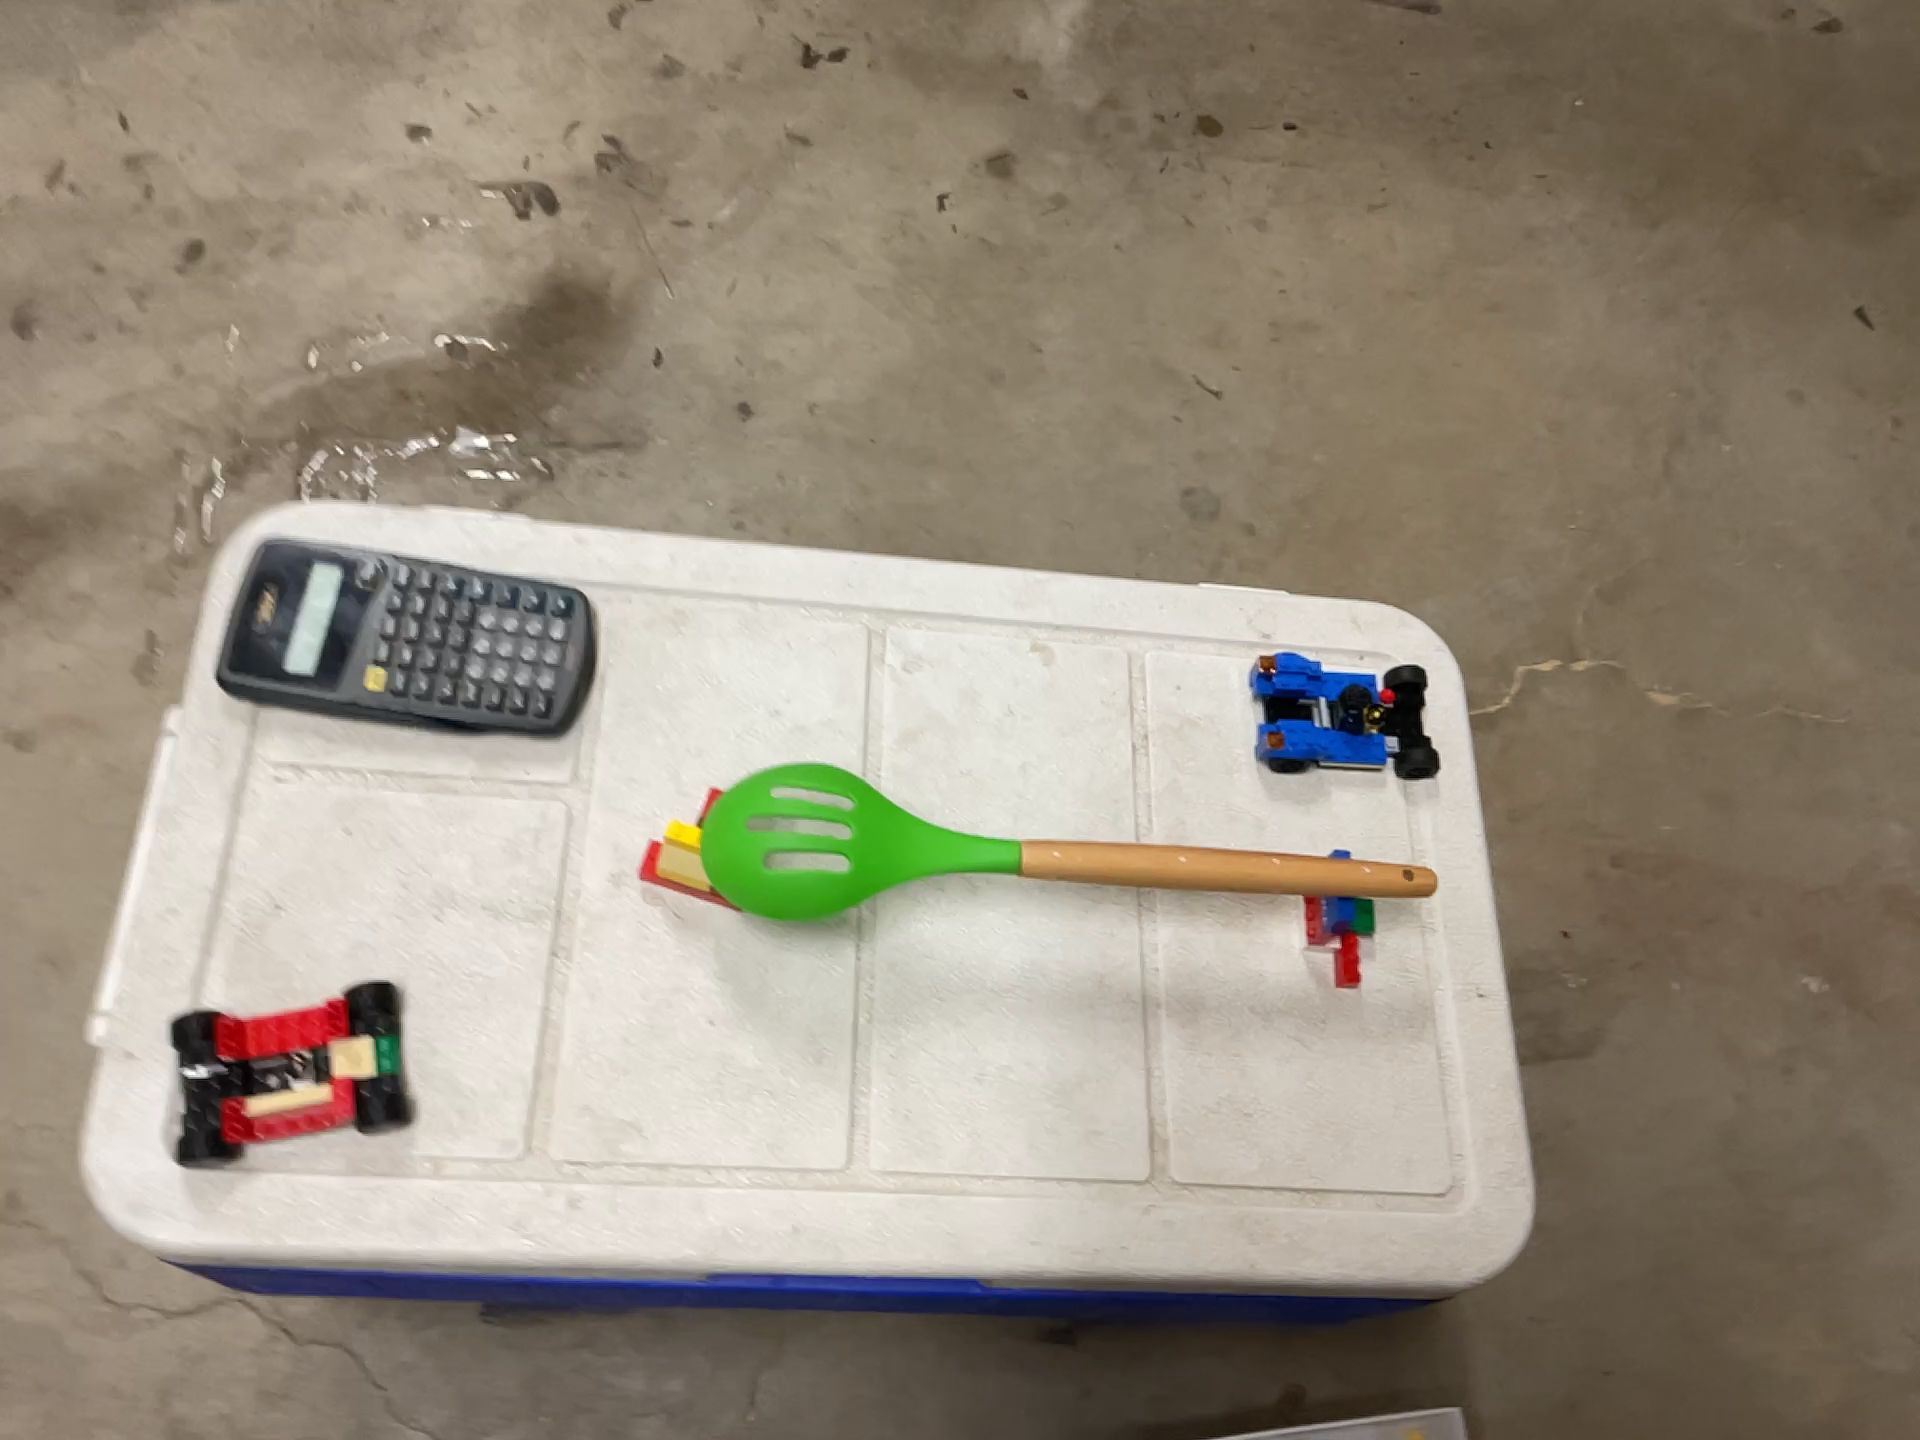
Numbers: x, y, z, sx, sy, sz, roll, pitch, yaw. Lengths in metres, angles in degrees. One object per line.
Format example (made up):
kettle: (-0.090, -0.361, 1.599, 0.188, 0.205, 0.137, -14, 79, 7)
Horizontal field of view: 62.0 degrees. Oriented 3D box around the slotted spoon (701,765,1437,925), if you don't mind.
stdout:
slotted spoon: (0.050, 0.058, 0.669, 0.313, 0.031, 0.070, 4, 64, -8)
